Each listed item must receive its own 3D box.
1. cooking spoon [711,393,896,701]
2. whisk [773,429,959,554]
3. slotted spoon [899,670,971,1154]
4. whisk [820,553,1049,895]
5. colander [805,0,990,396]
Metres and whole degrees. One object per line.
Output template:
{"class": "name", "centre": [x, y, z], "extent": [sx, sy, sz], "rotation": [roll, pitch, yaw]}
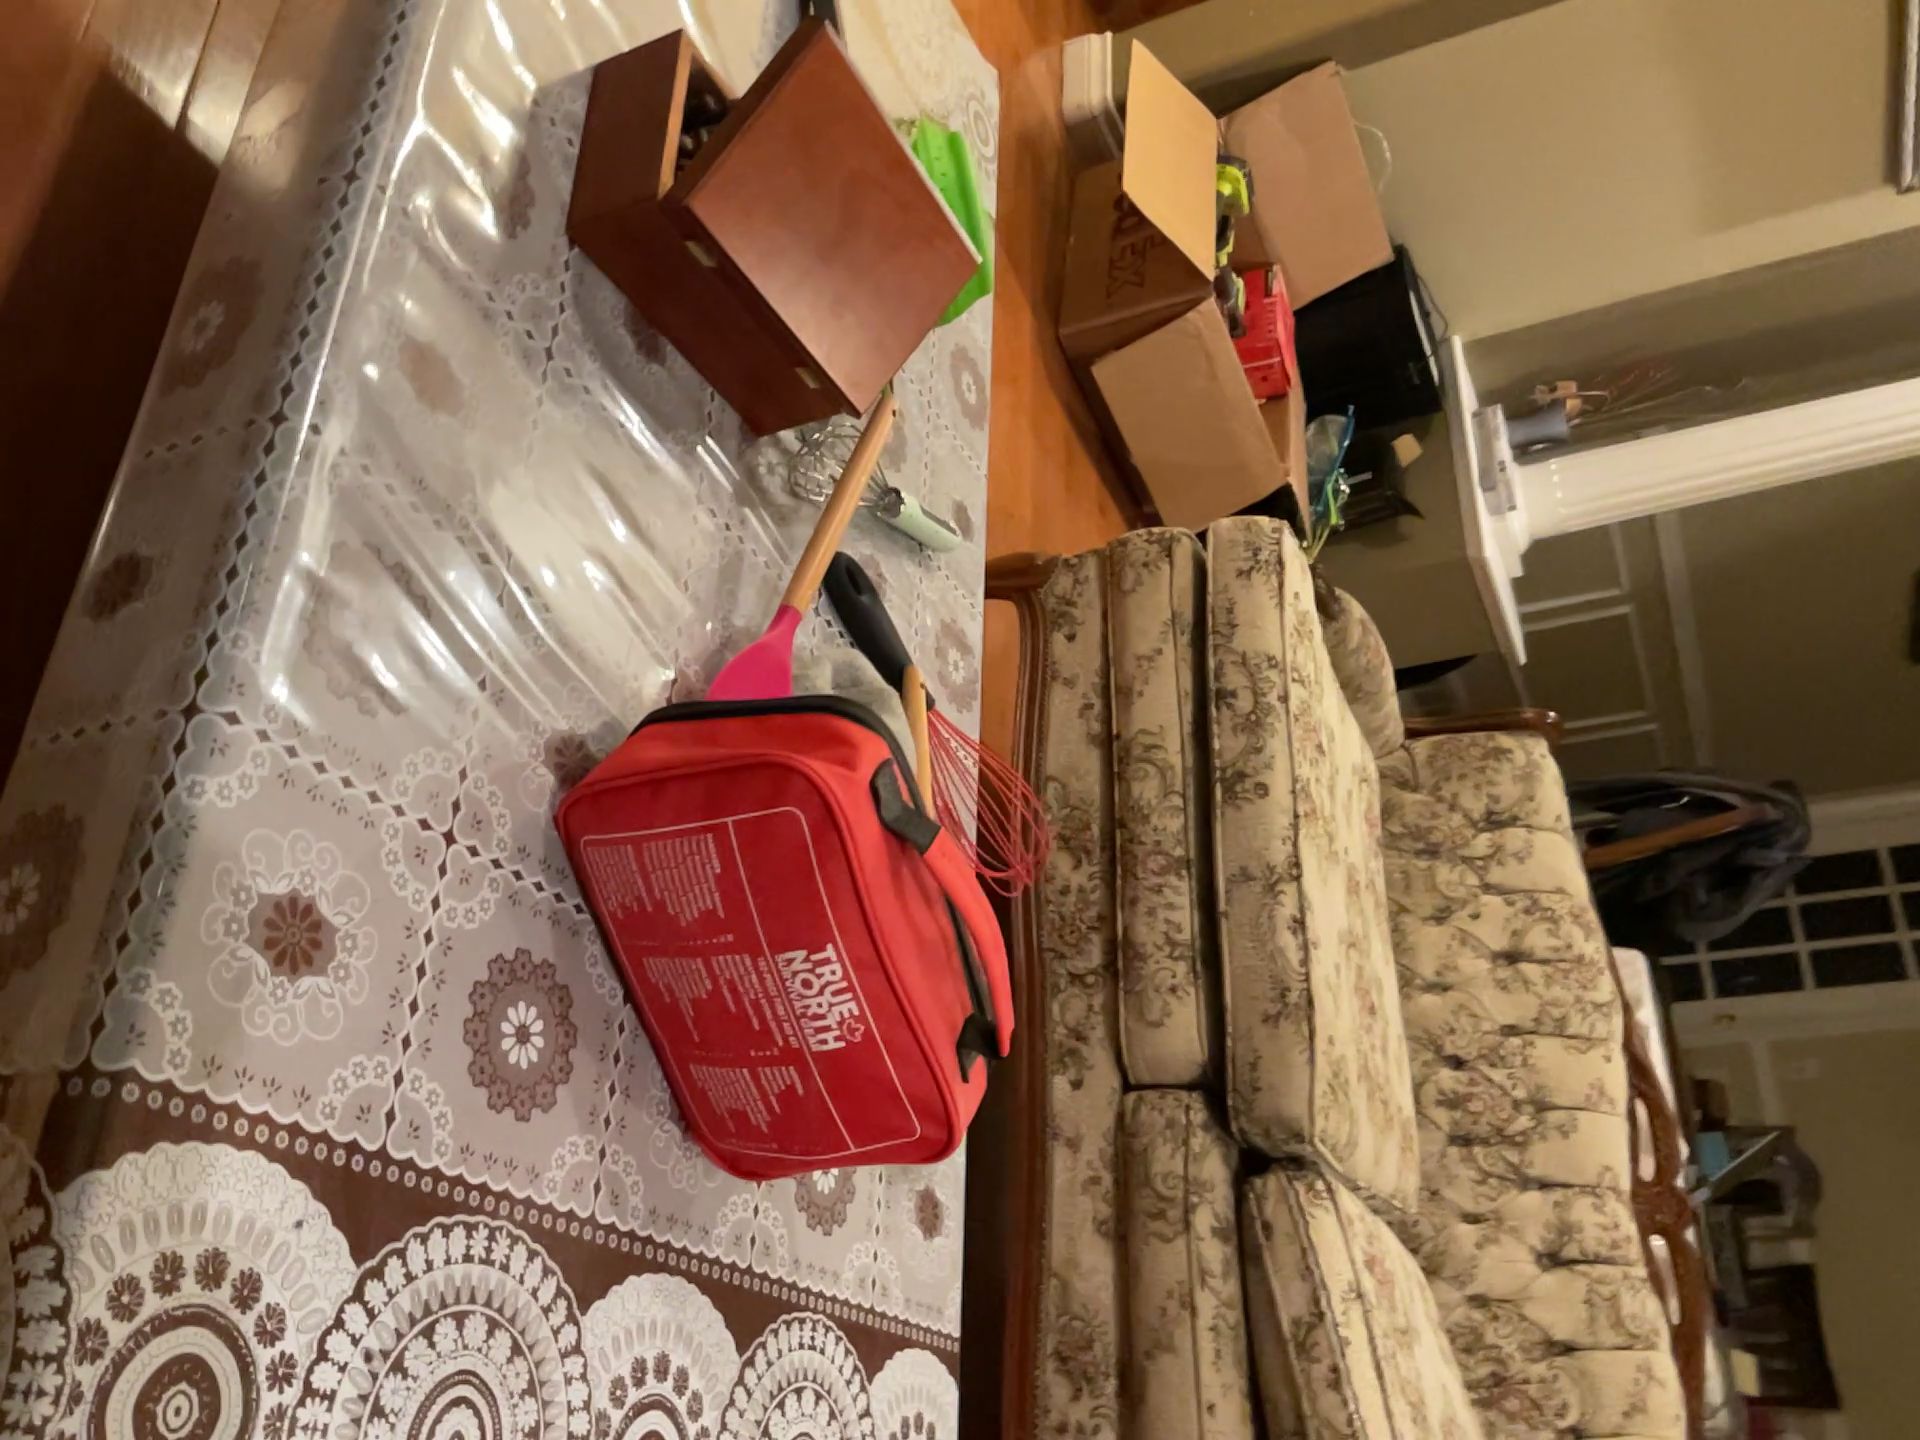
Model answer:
{"class": "cooking spoon", "centre": [-0.093, -0.081, 0.946], "extent": [0.068, 0.017, 0.319], "rotation": [57, 43, -44]}
{"class": "whisk", "centre": [-0.057, -0.151, 1.106], "extent": [0.058, 0.059, 0.246], "rotation": [-58, 157, 6]}
{"class": "slotted spoon", "centre": [-0.024, 0.122, 1.038], "extent": [0.070, 0.031, 0.314], "rotation": [16, 67, -63]}
{"class": "whisk", "centre": [-0.017, 0.007, 1.100], "extent": [0.295, 0.073, 0.073], "rotation": [59, 36, -25]}
{"class": "colander", "centre": [-0.046, -0.414, 1.122], "extent": [0.204, 0.094, 0.397], "rotation": [71, 8, -69]}
